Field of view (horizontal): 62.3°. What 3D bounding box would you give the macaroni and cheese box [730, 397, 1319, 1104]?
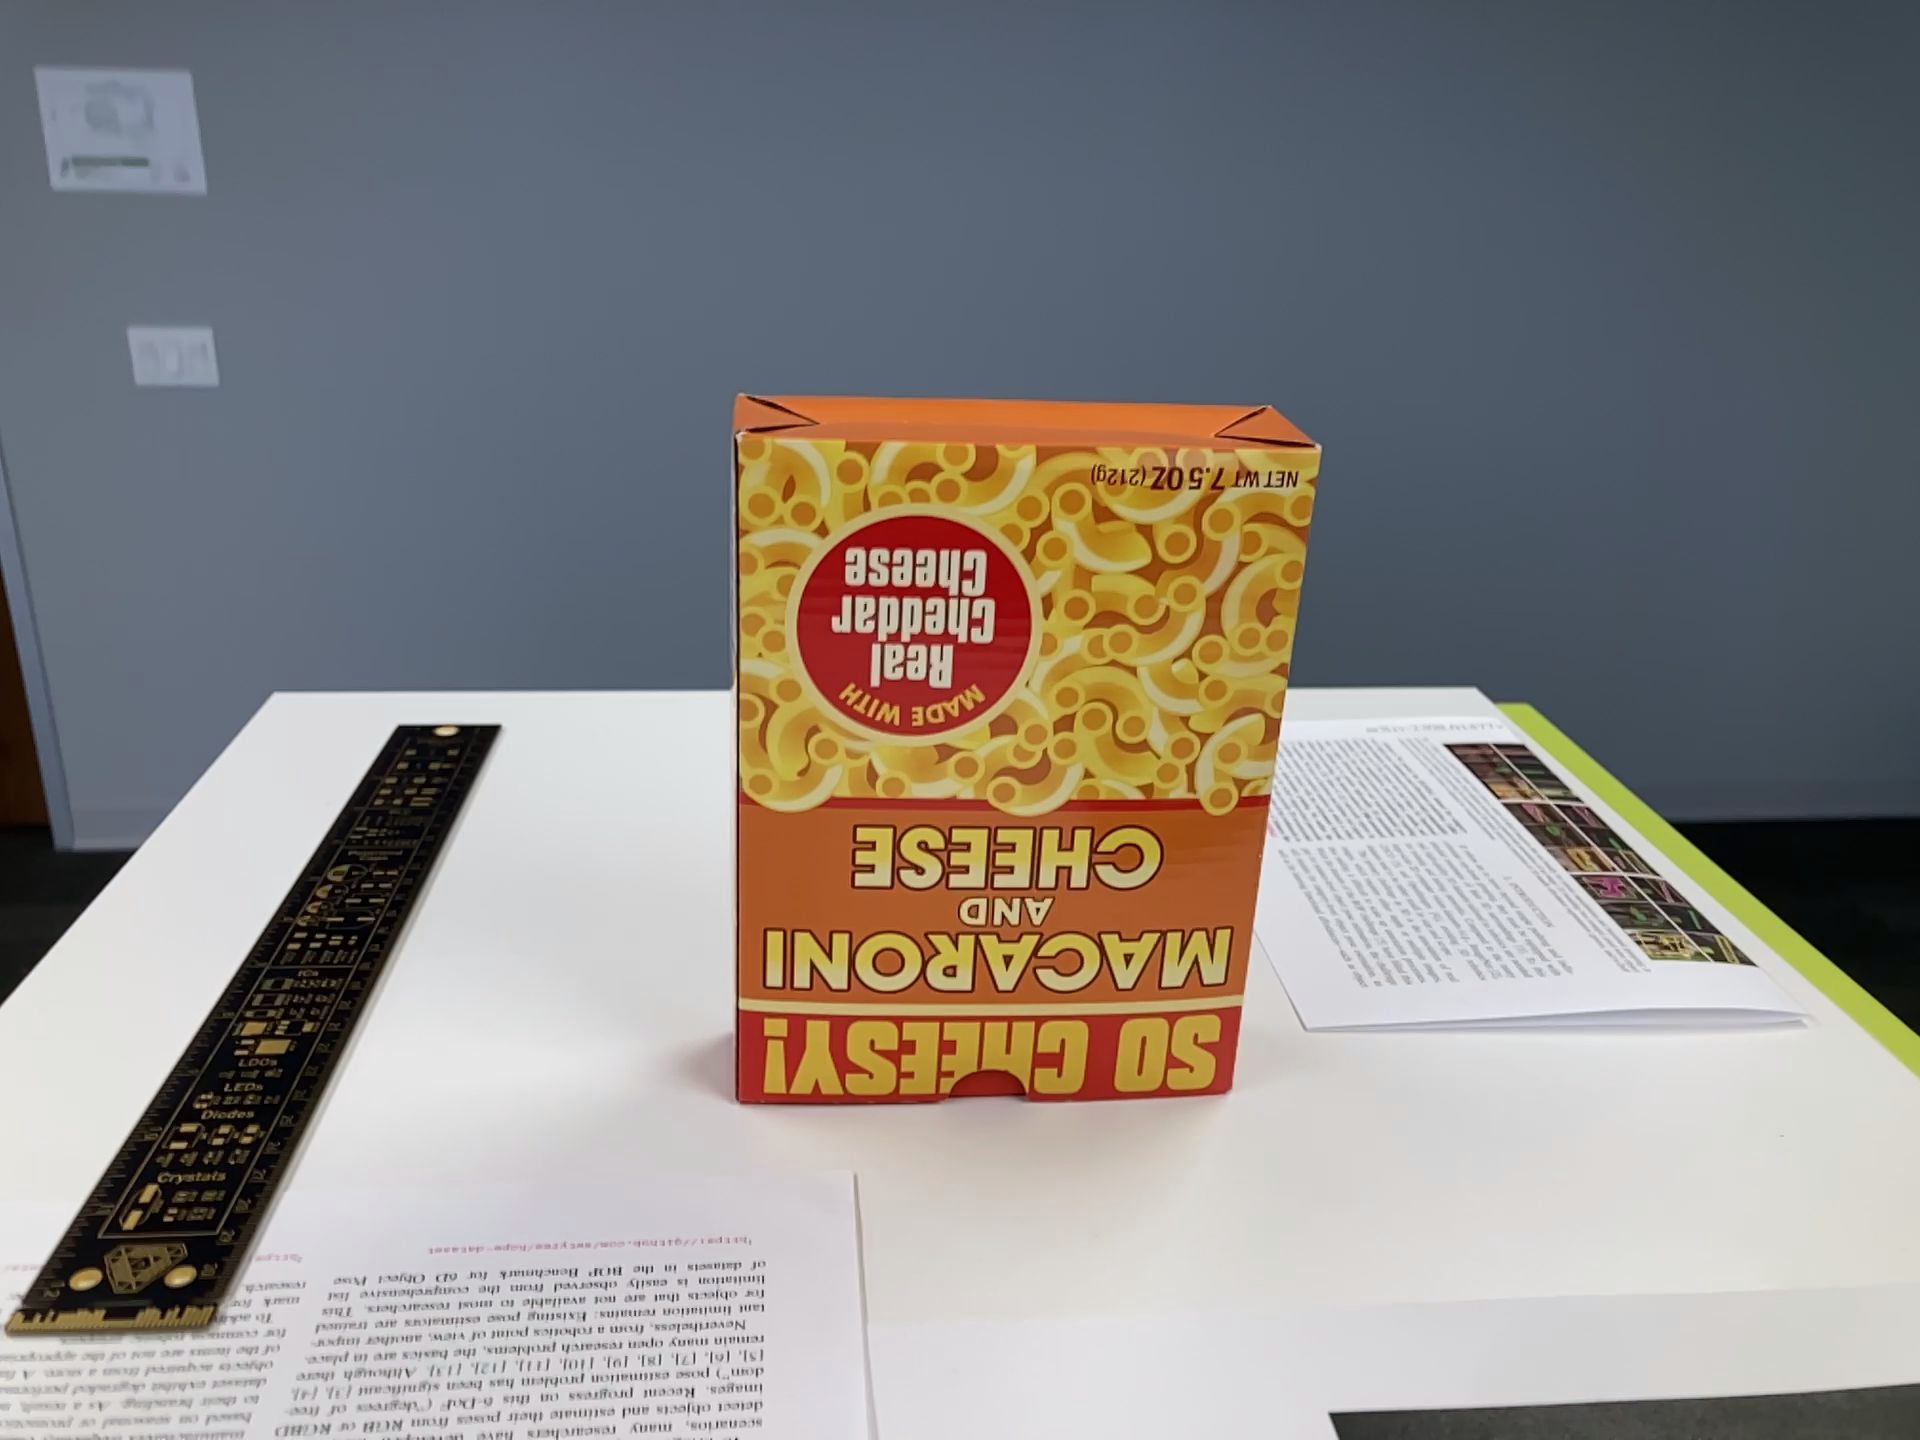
[{"bbox_3d":[0.008,0.012,0.374,0.124,0.166,0.040,1,24,-6],"label":"macaroni and cheese box"}]
